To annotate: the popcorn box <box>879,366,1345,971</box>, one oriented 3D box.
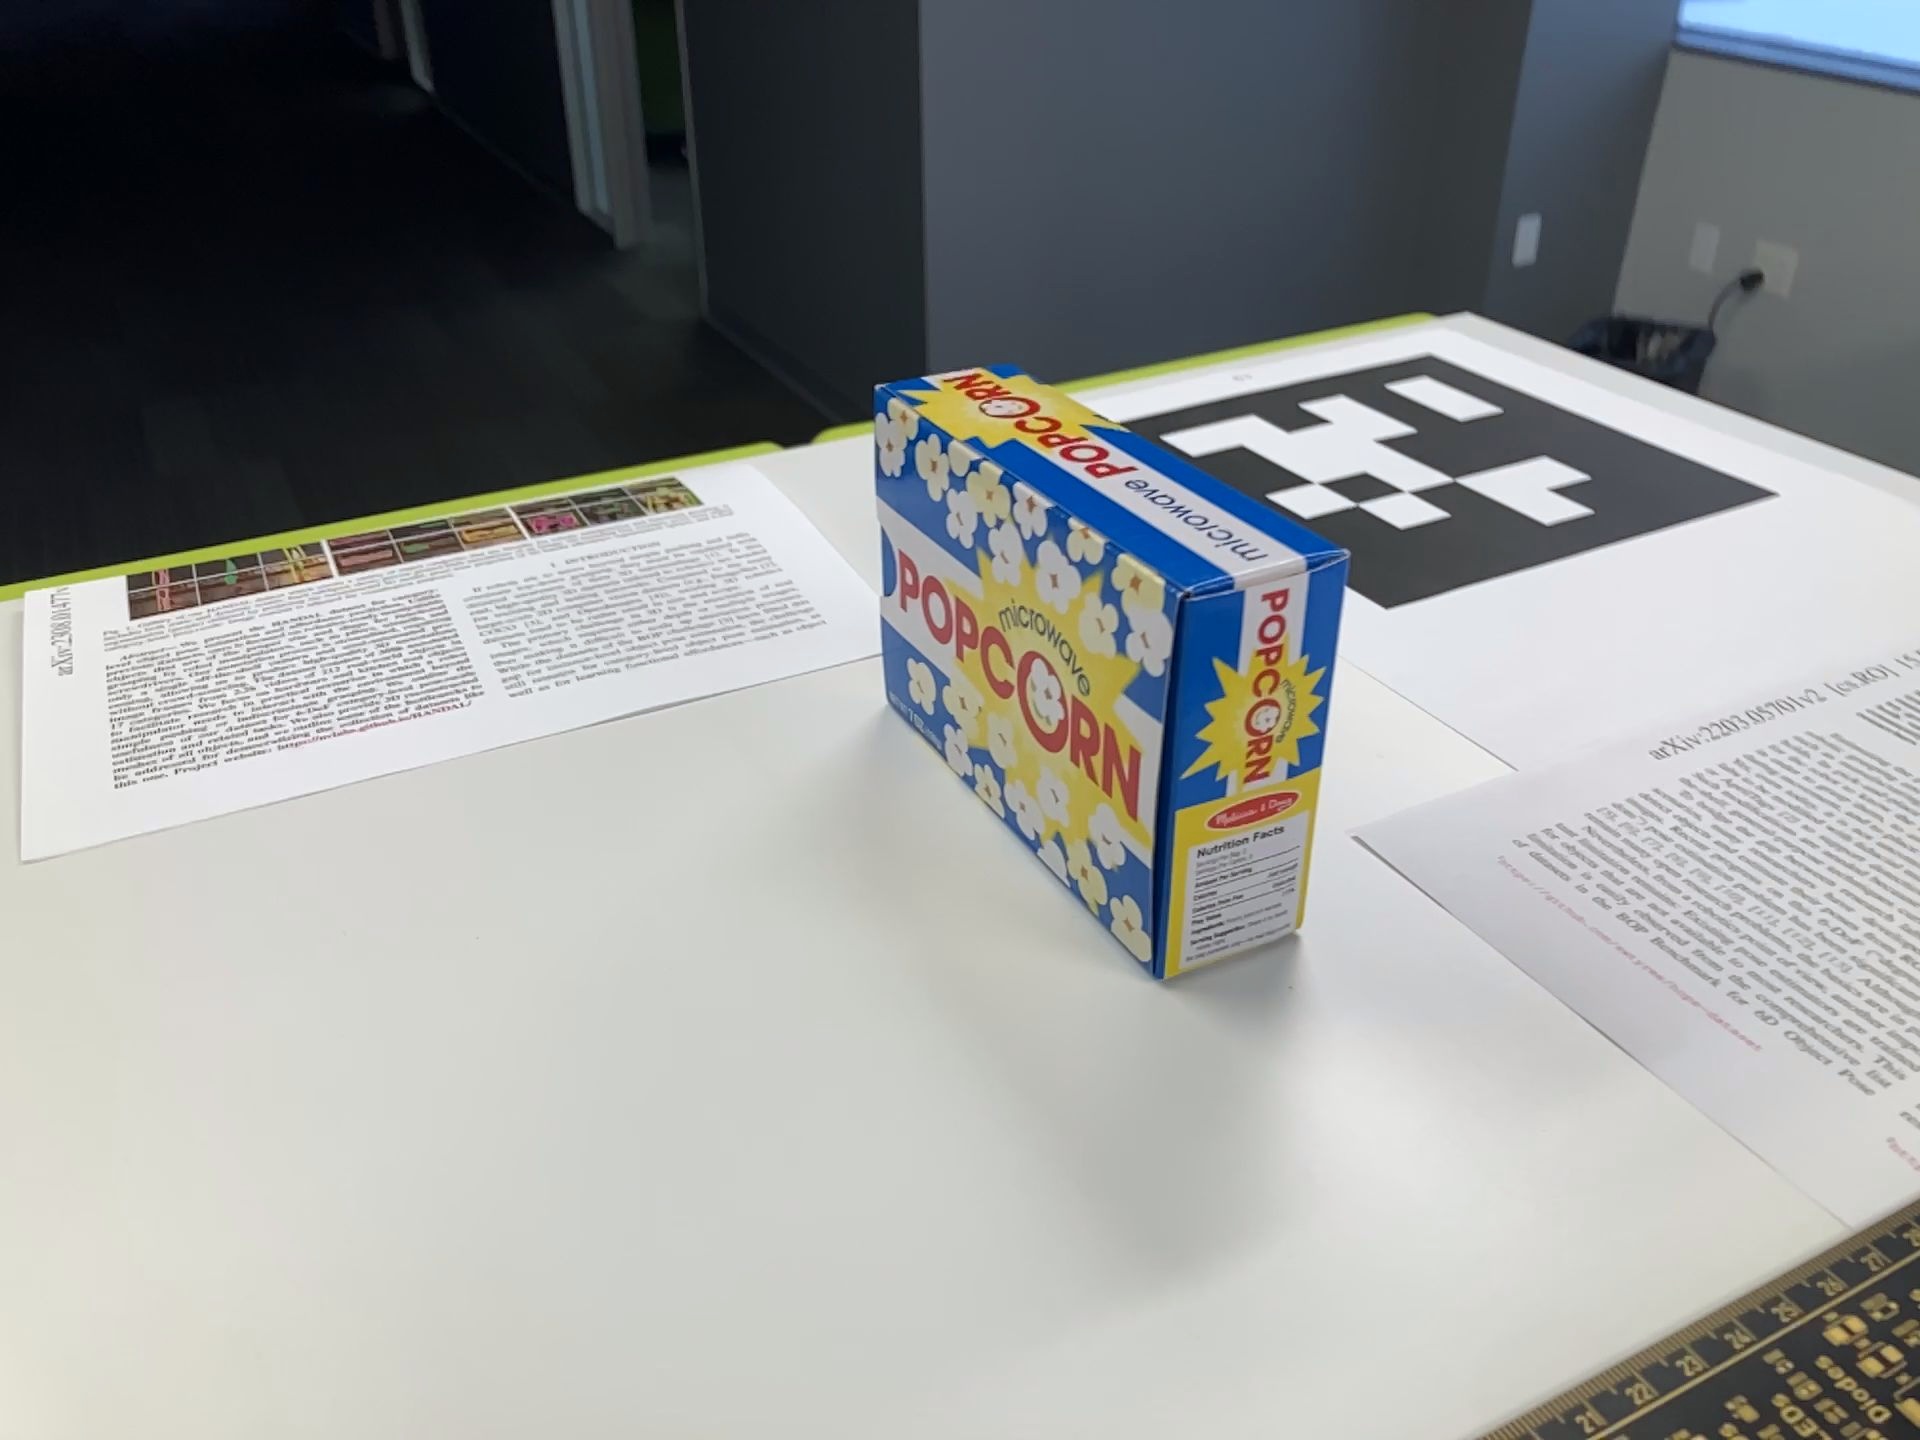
[{"bbox_3d":[0.026,-0.017,0.345,0.038,0.085,0.126,-16,34,-23],"label":"popcorn box"}]
